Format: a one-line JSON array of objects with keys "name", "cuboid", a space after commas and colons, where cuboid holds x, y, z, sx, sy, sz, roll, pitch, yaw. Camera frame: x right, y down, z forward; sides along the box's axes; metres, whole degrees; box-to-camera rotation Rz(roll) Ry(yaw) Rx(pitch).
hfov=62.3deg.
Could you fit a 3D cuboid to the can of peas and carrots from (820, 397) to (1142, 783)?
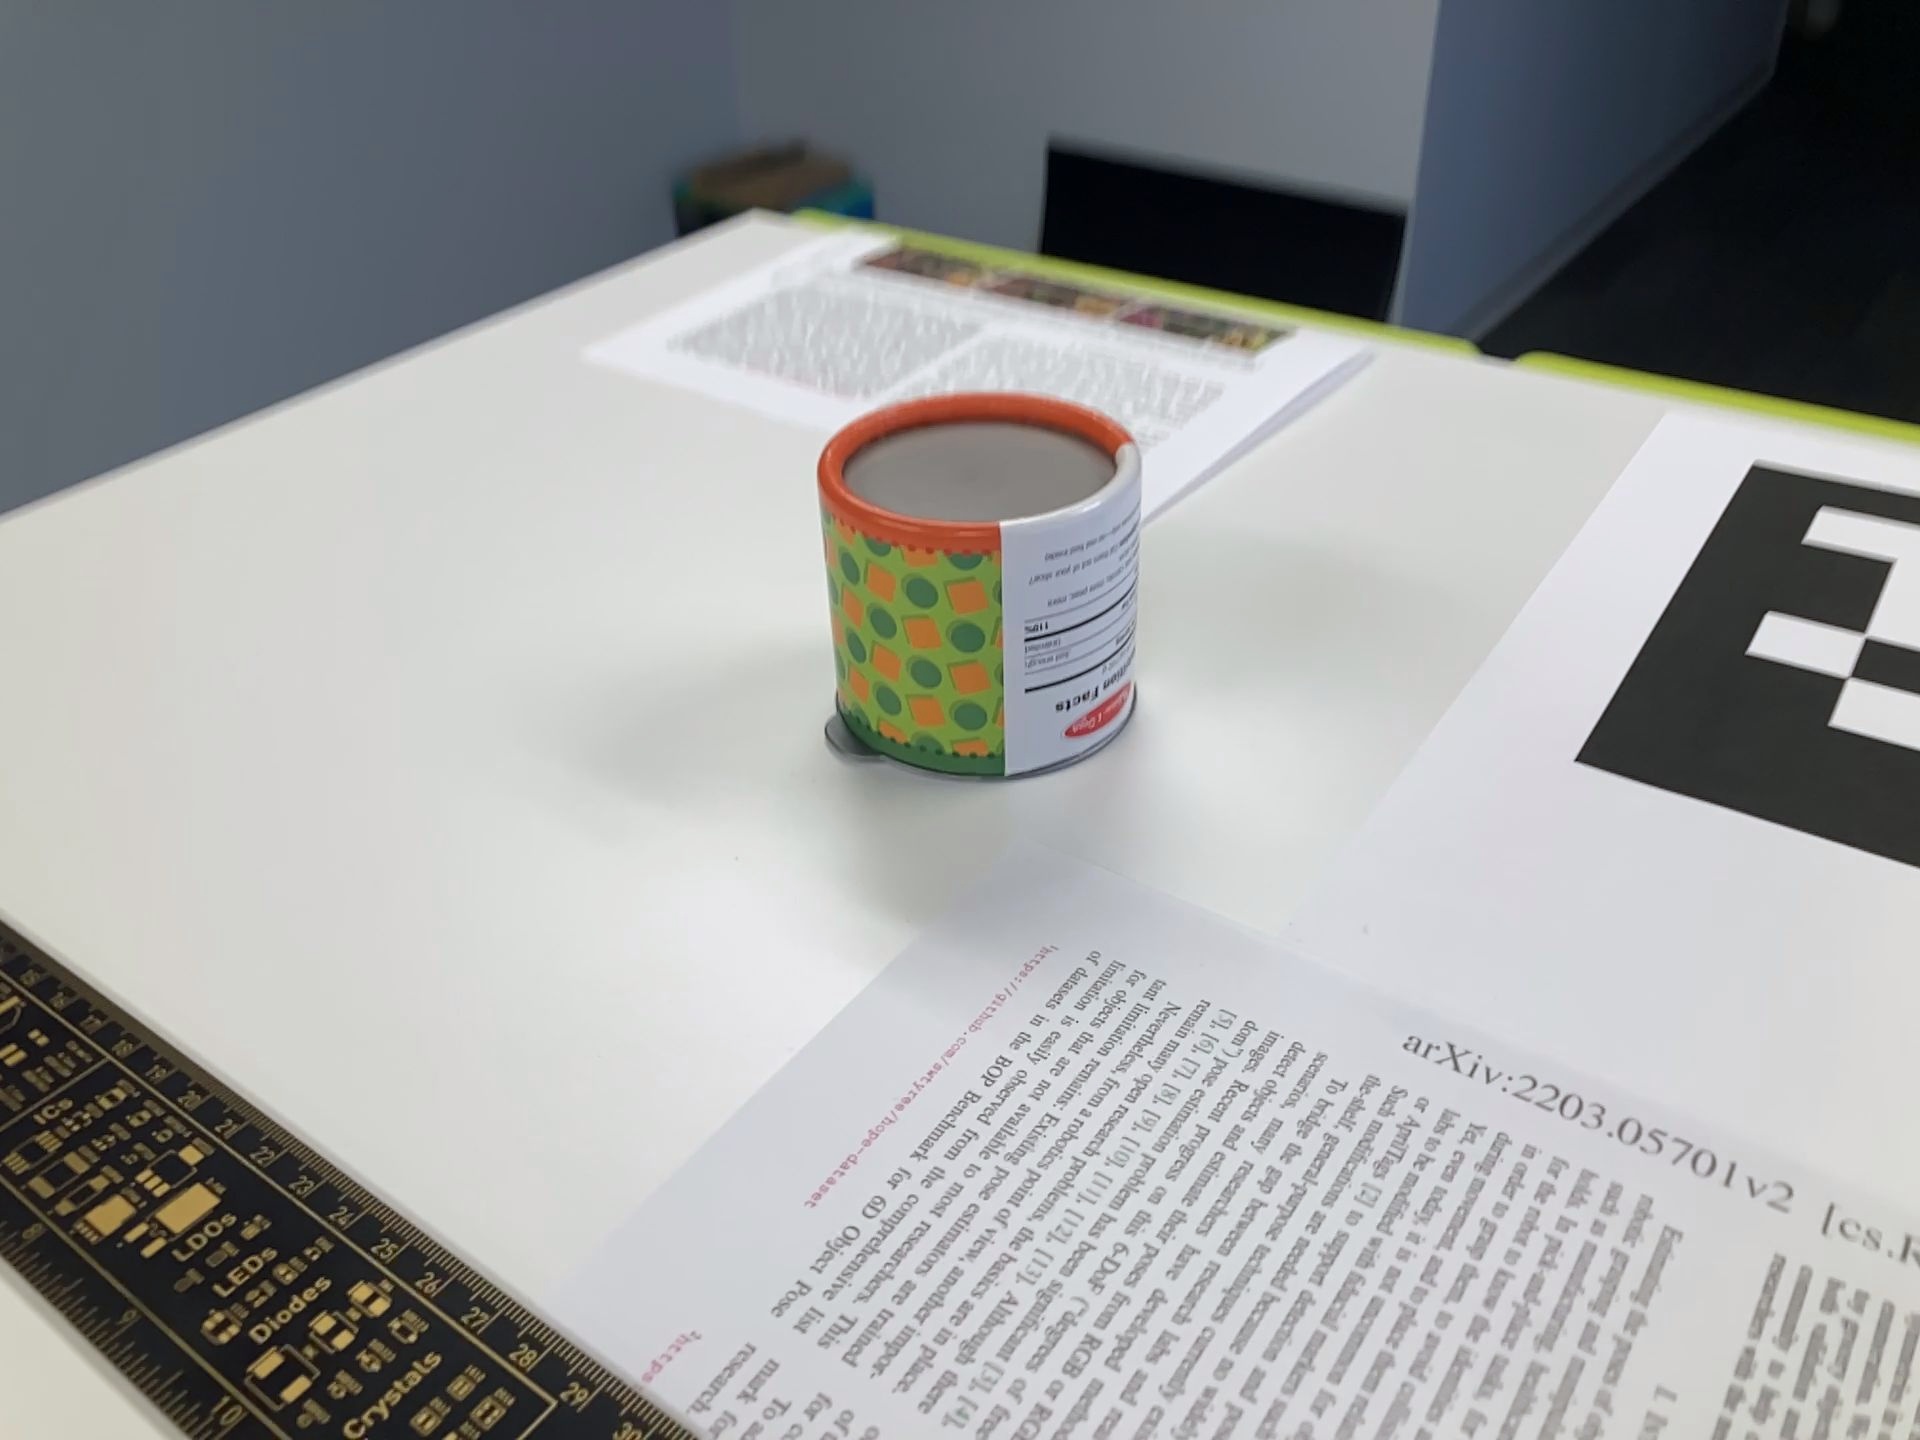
[{"name": "can of peas and carrots", "cuboid": [0.003, -0.030, 0.338, 0.071, 0.059, 0.071, -1, 34, 1]}]
